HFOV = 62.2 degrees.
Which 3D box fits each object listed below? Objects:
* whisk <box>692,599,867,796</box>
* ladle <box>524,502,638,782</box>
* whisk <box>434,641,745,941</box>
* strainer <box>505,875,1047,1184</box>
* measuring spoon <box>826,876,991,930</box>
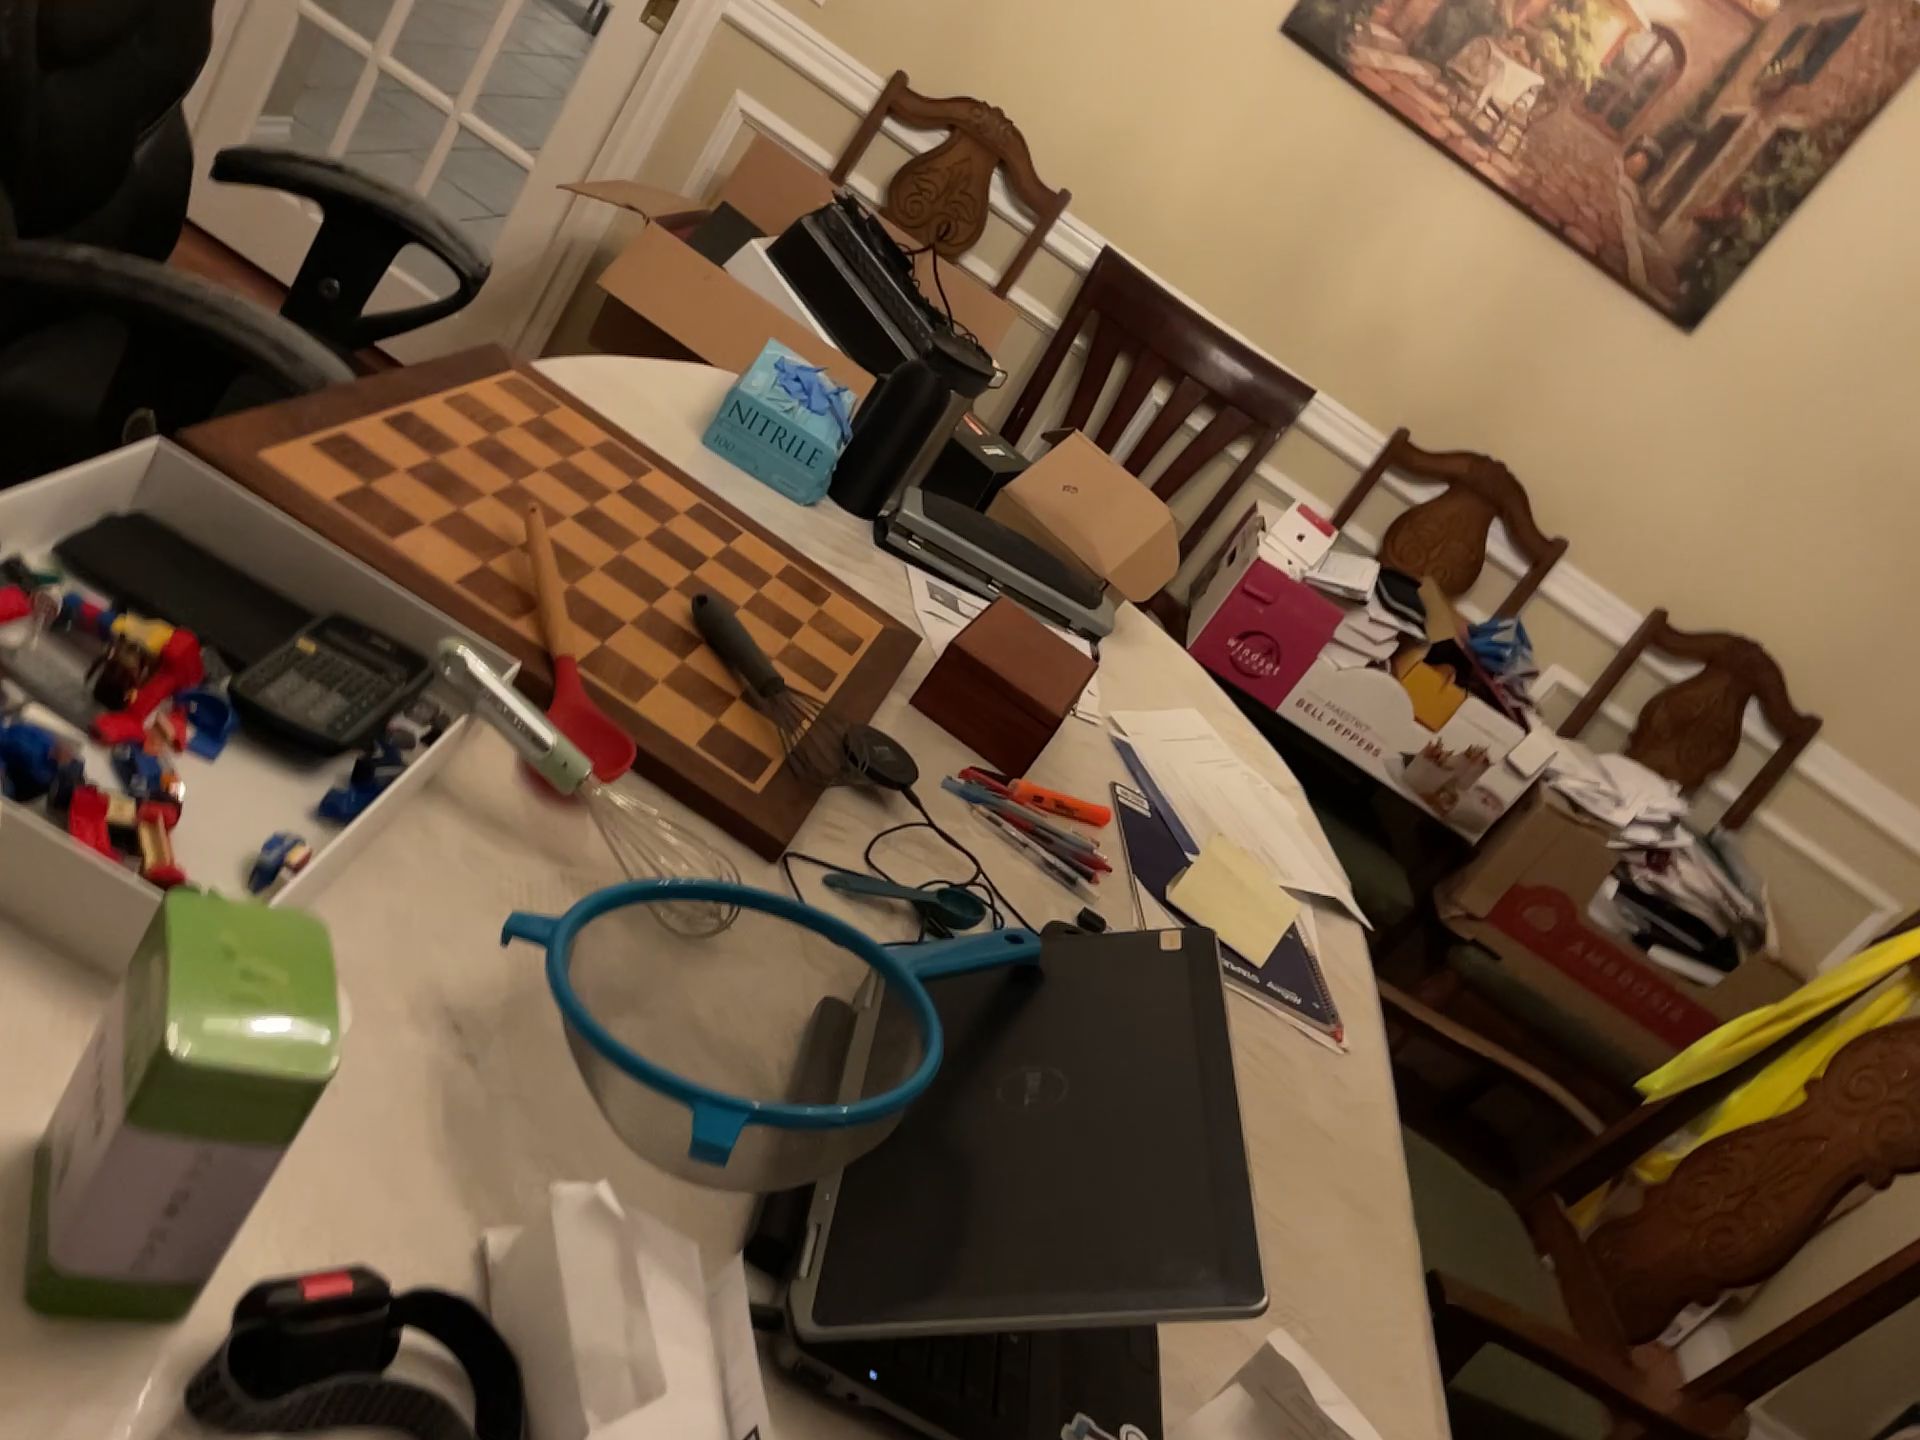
[{"bbox_3d":[-0.145,-0.023,1.233,0.239,0.055,0.055,46,10,34],"label":"whisk"},{"bbox_3d":[-0.283,-0.061,1.122,0.069,0.031,0.316,-2,42,-23],"label":"ladle"},{"bbox_3d":[-0.222,0.044,0.960,0.246,0.058,0.059,46,-10,-12],"label":"whisk"},{"bbox_3d":[-0.077,0.174,0.882,0.340,0.095,0.211,0,28,-48],"label":"strainer"},{"bbox_3d":[-0.039,0.132,1.146,0.128,0.021,0.042,12,22,-22],"label":"measuring spoon"}]
